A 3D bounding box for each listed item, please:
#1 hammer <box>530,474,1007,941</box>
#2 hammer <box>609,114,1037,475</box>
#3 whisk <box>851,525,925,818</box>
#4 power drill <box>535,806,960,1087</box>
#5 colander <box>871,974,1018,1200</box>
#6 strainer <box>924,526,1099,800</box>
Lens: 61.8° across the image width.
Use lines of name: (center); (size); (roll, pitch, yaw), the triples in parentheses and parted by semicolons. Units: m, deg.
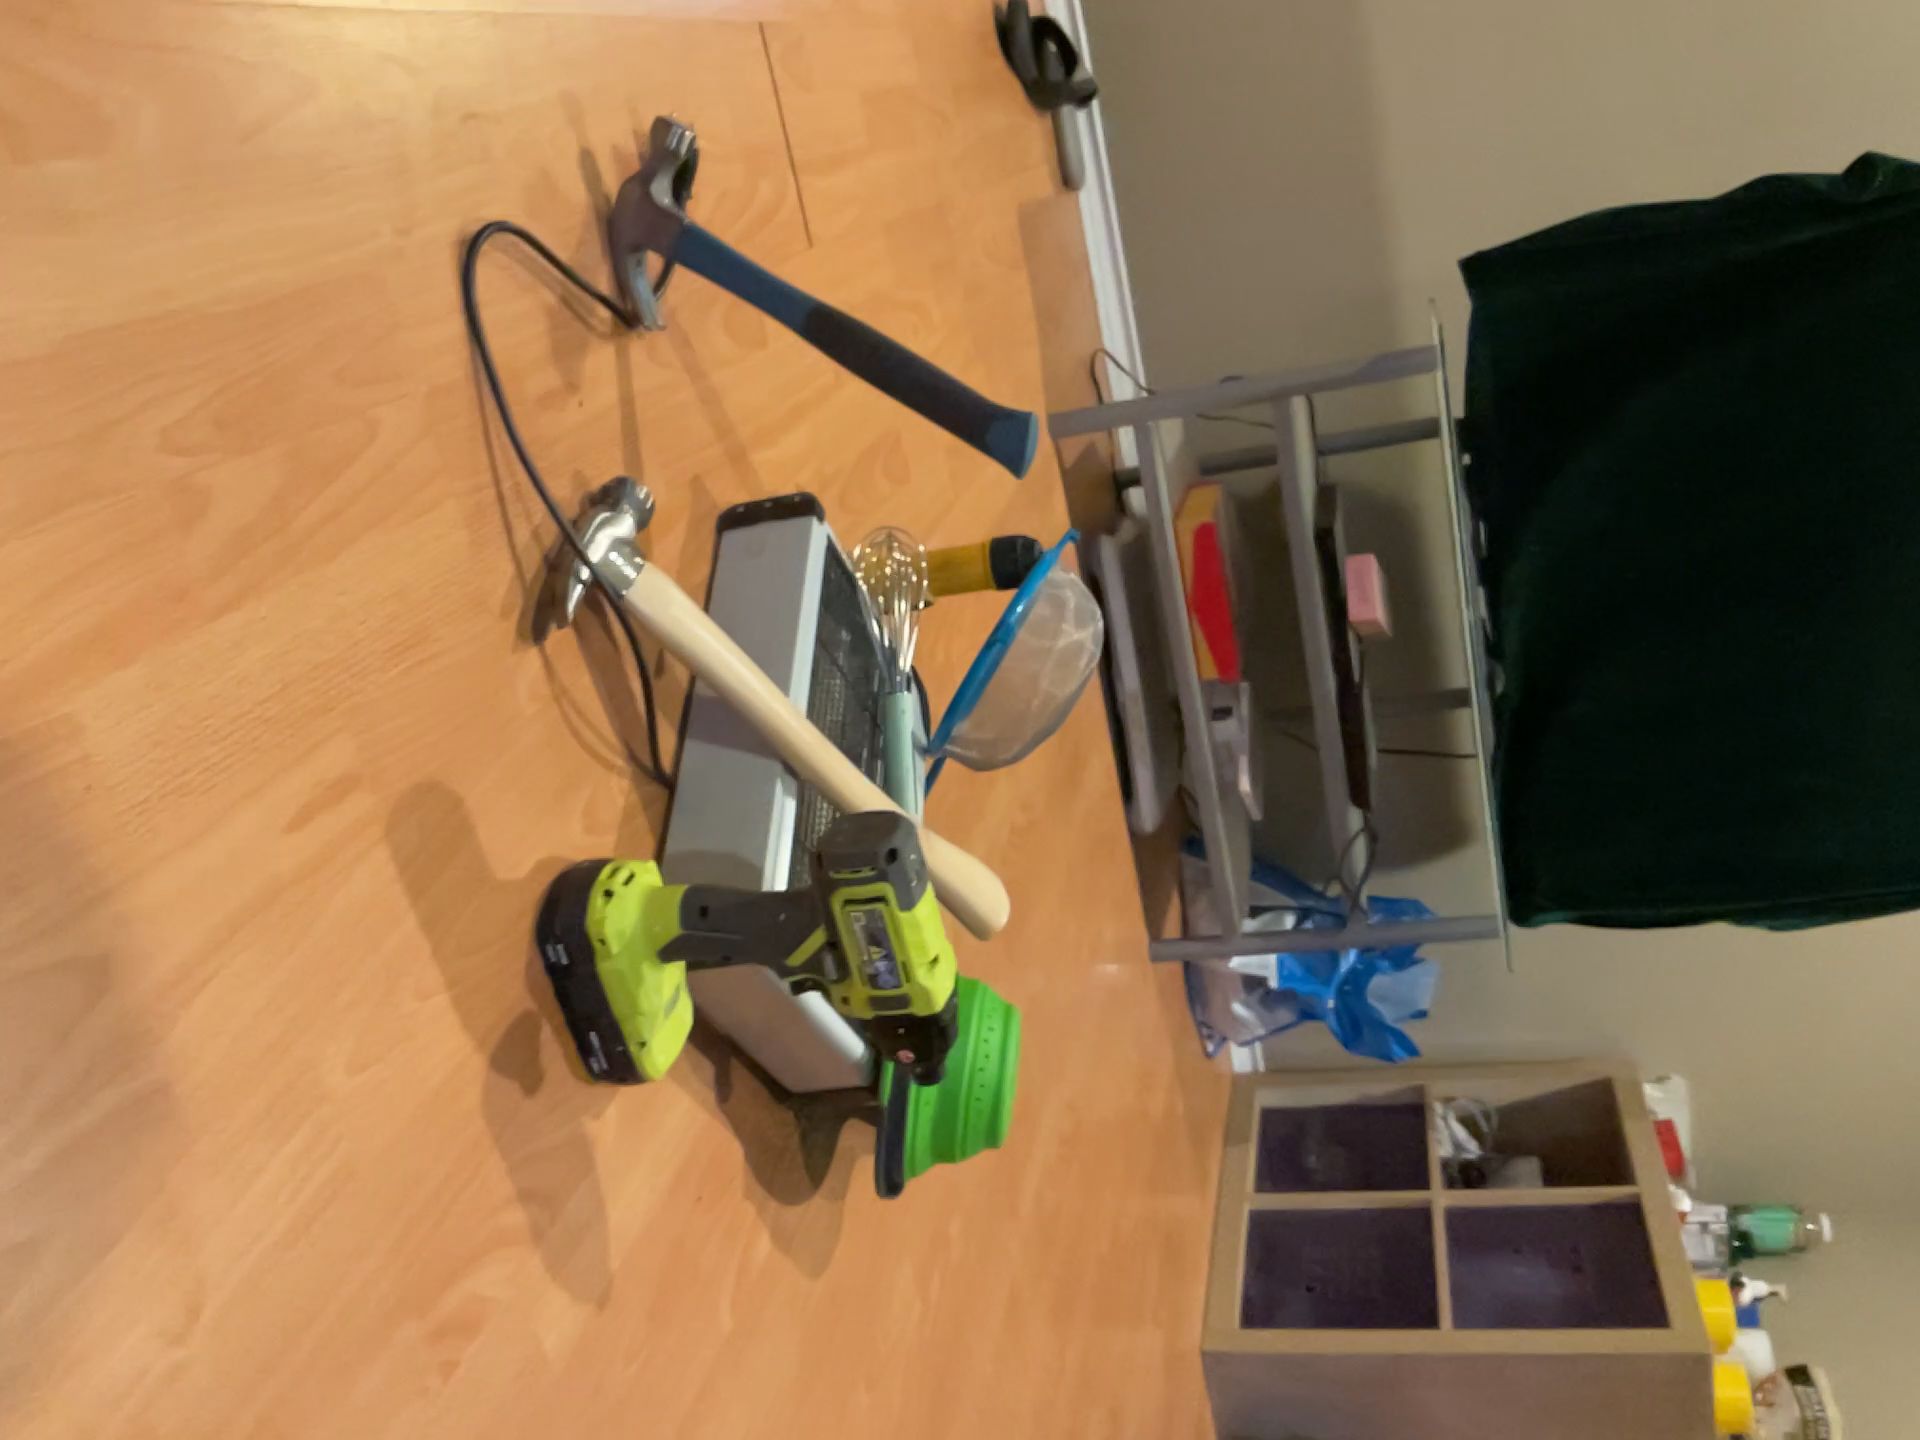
hammer: (-0.108, 0.023, 1.057); (0.410, 0.038, 0.146); (45, 33, -26)
hammer: (-0.090, -0.266, 1.076); (0.128, 0.331, 0.033); (-60, 175, 20)
whisk: (-0.050, -0.029, 1.245); (0.058, 0.059, 0.246); (172, -86, -77)
power drill: (-0.114, 0.143, 0.925); (0.080, 0.223, 0.171); (-65, 145, -61)
colander: (-0.005, 0.302, 1.306); (0.396, 0.094, 0.204); (87, 10, -65)
strainer: (0.038, 0.008, 1.417); (0.211, 0.095, 0.340); (-55, 173, -52)
